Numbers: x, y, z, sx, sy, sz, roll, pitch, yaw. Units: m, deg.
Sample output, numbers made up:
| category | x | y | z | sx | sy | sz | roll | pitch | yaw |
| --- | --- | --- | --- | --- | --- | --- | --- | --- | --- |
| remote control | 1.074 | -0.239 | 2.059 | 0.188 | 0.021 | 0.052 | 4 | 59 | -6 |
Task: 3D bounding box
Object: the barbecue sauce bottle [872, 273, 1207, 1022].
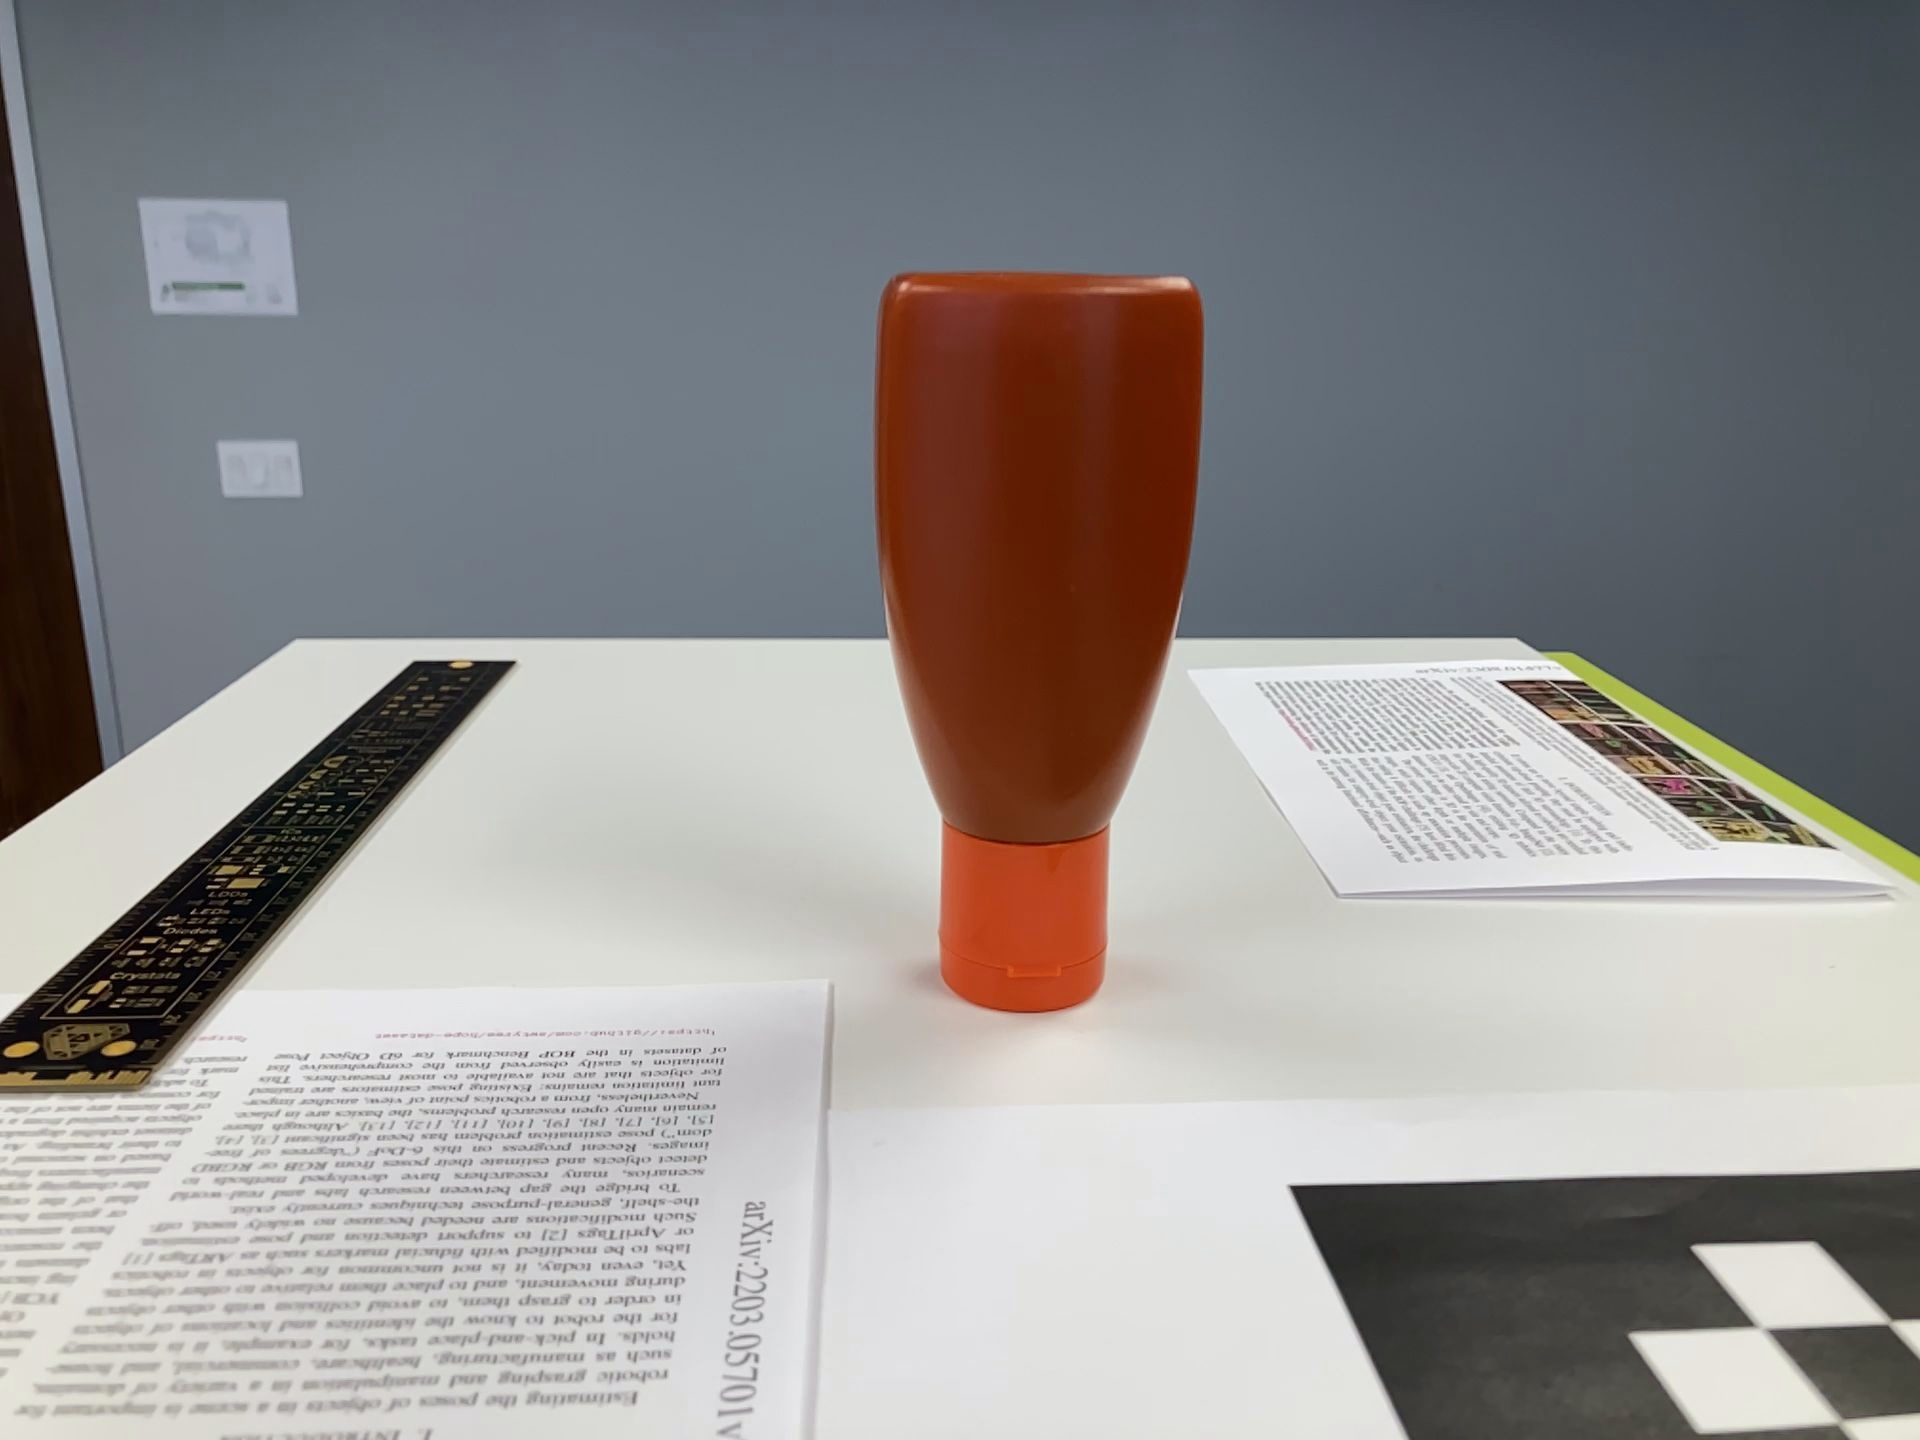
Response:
| category | x | y | z | sx | sy | sz | roll | pitch | yaw |
| --- | --- | --- | --- | --- | --- | --- | --- | --- | --- |
| barbecue sauce bottle | 0.015 | -0.014 | 0.322 | 0.065 | 0.148 | 0.043 | -1 | 15 | -5 |
